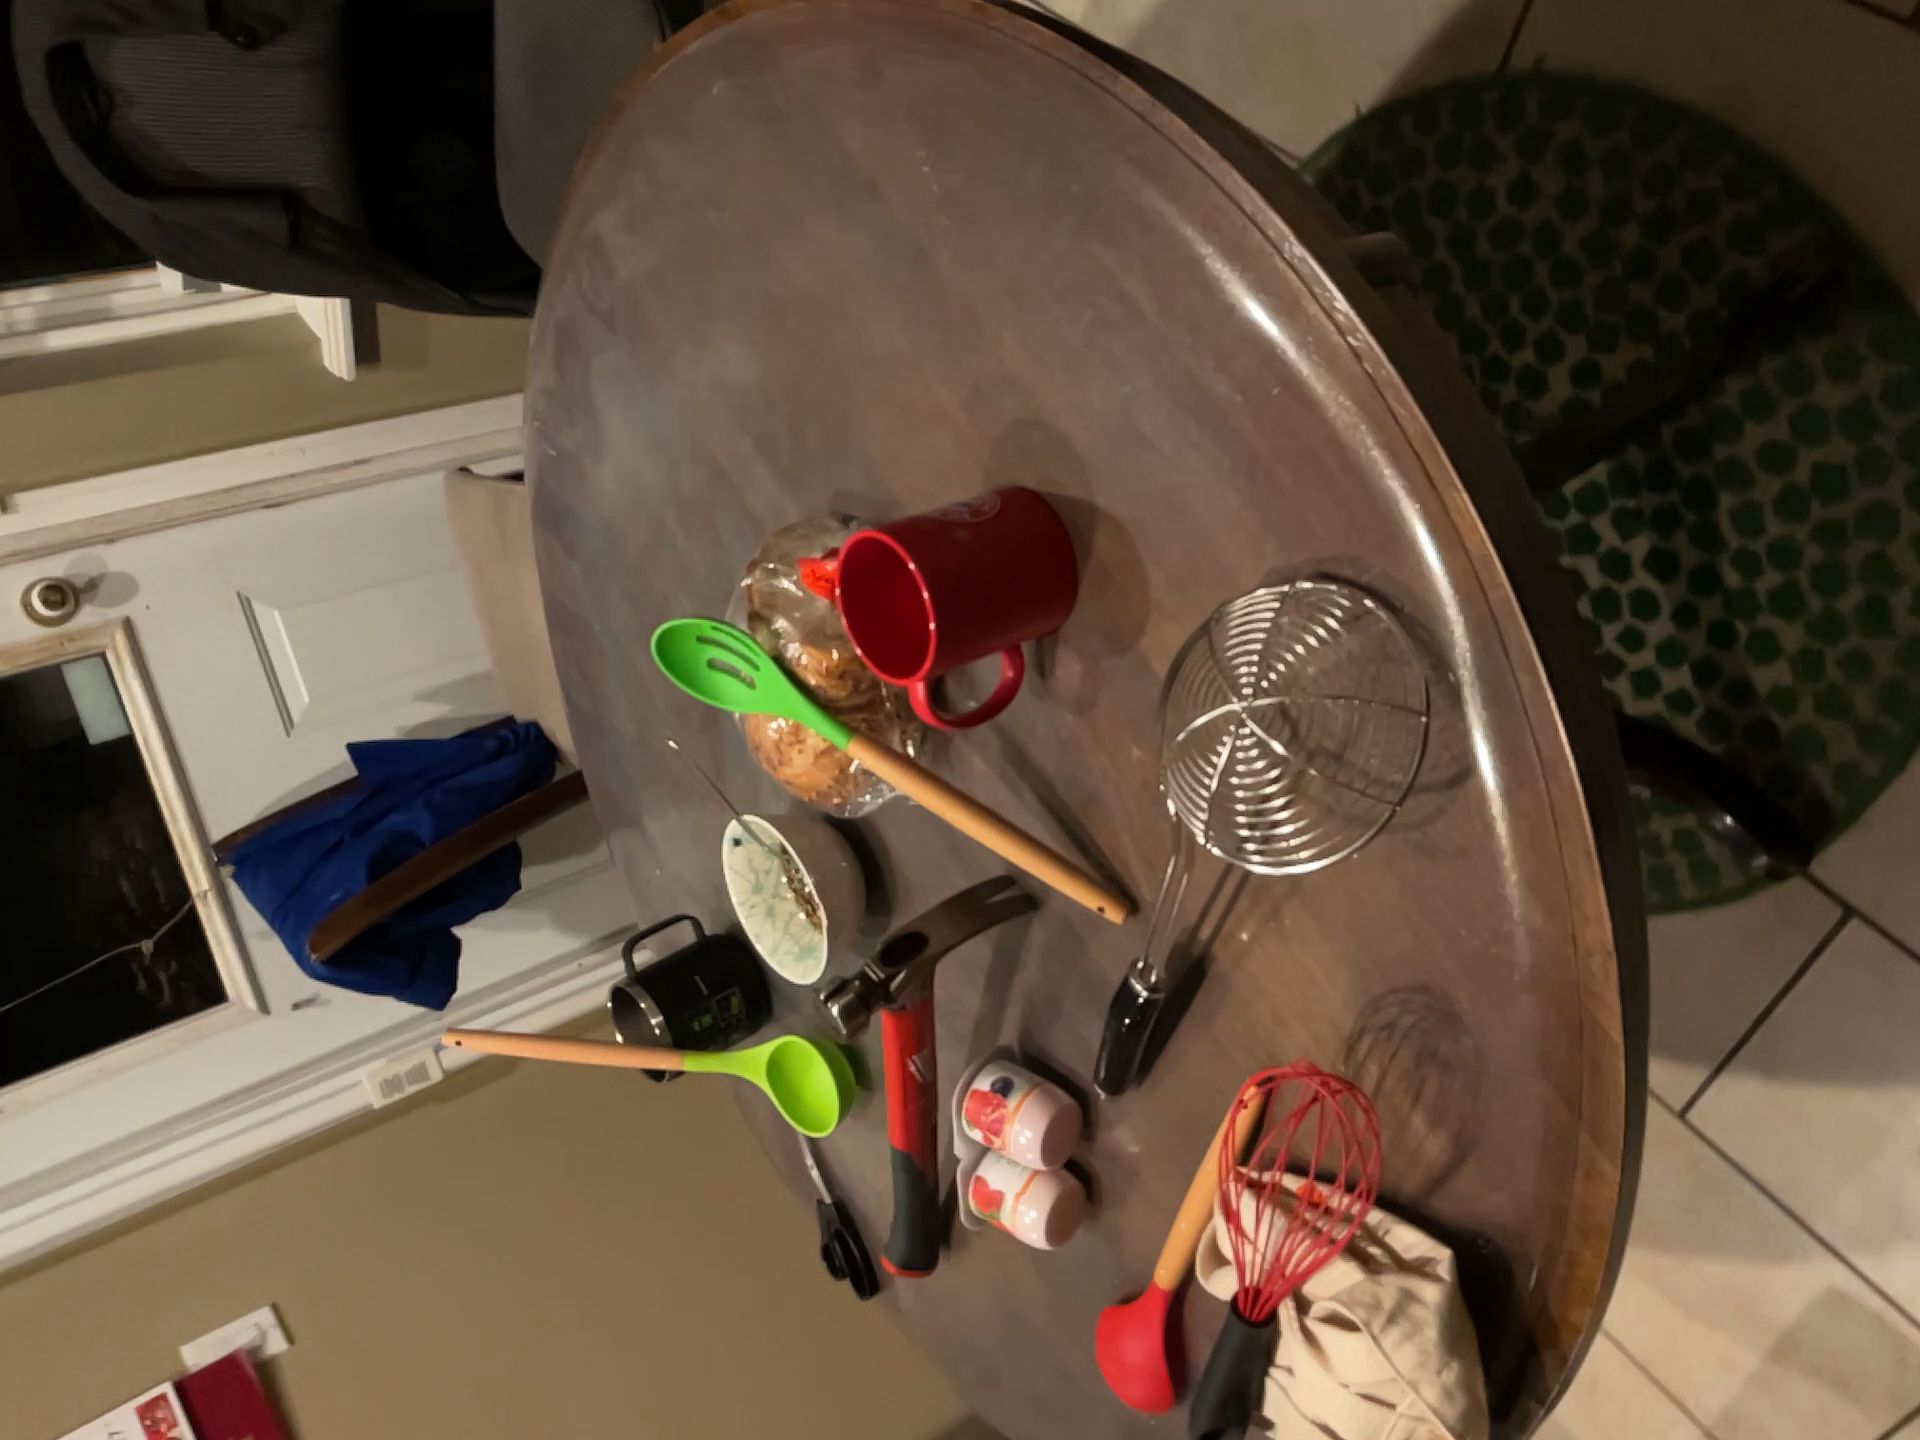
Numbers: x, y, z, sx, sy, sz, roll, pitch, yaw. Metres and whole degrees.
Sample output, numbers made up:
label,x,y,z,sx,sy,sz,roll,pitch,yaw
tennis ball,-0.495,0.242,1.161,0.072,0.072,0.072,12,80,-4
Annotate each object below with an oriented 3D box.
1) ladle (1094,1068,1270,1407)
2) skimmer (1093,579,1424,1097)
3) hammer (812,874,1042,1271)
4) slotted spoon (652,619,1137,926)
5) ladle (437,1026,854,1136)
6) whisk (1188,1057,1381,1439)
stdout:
label,x,y,z,sx,sy,sz,roll,pitch,yaw
ladle,0.127,0.305,0.911,0.069,0.031,0.315,42,136,32
skimmer,0.127,0.085,0.786,0.127,0.090,0.363,55,155,32
hammer,-0.017,0.253,1.037,0.038,0.143,0.386,44,151,33
slotted spoon,-0.038,0.028,0.891,0.314,0.031,0.070,31,141,11
ladle,-0.237,0.258,1.188,0.062,0.320,0.078,-78,-6,-72
whisk,0.148,0.273,0.776,0.073,0.073,0.295,36,135,36
